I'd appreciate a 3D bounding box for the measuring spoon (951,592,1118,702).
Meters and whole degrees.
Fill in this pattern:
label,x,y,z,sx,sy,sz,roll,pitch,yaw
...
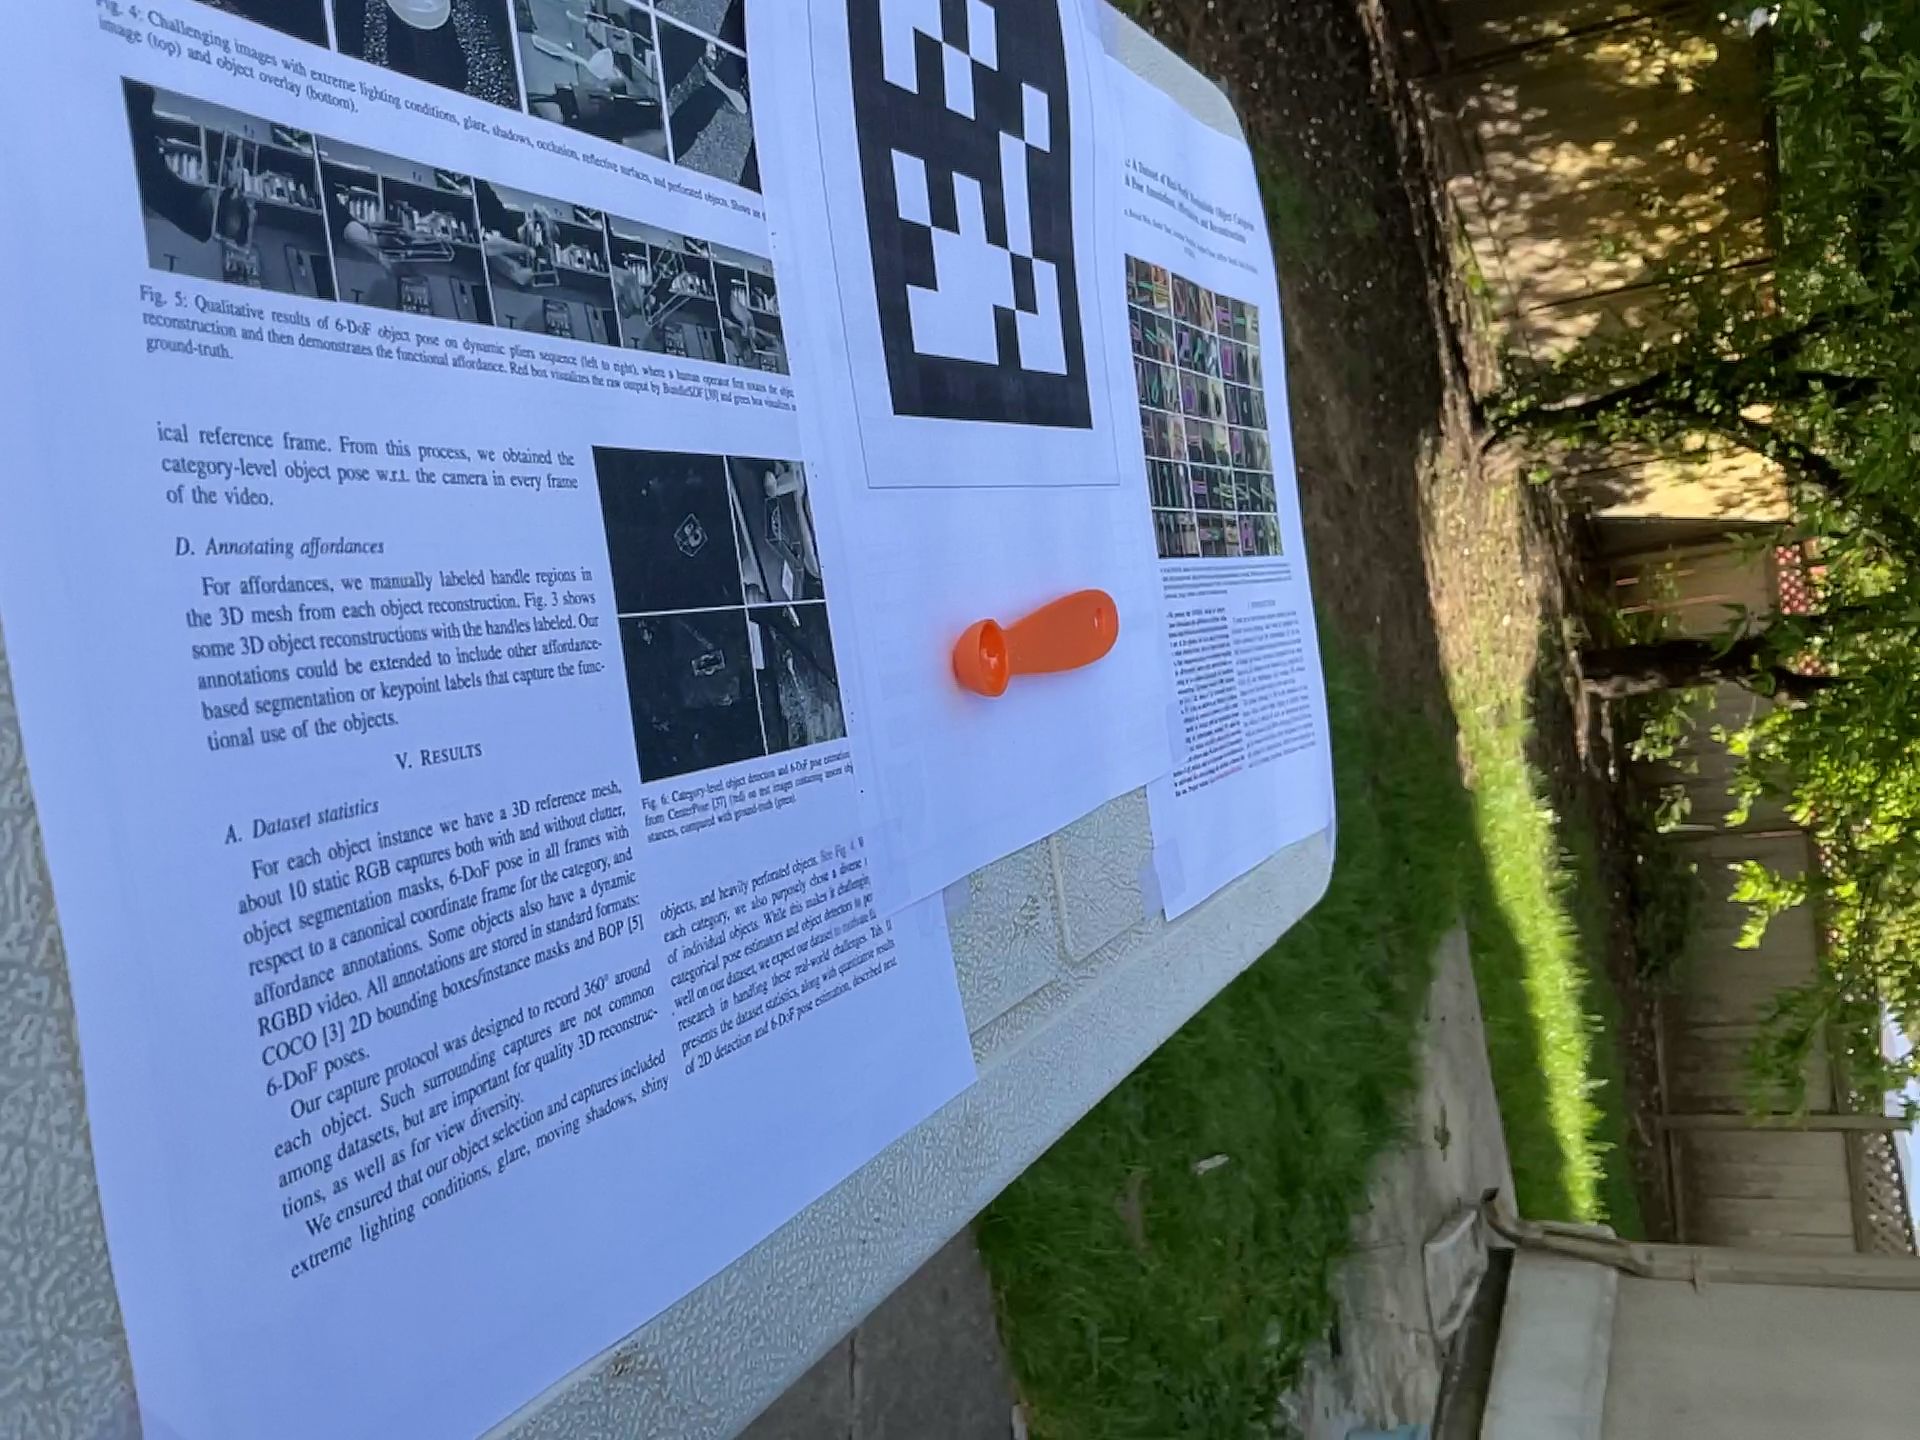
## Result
label,x,y,z,sx,sy,sz,roll,pitch,yaw
measuring spoon,0.022,-0.021,0.434,0.117,0.011,0.021,-22,105,-66
